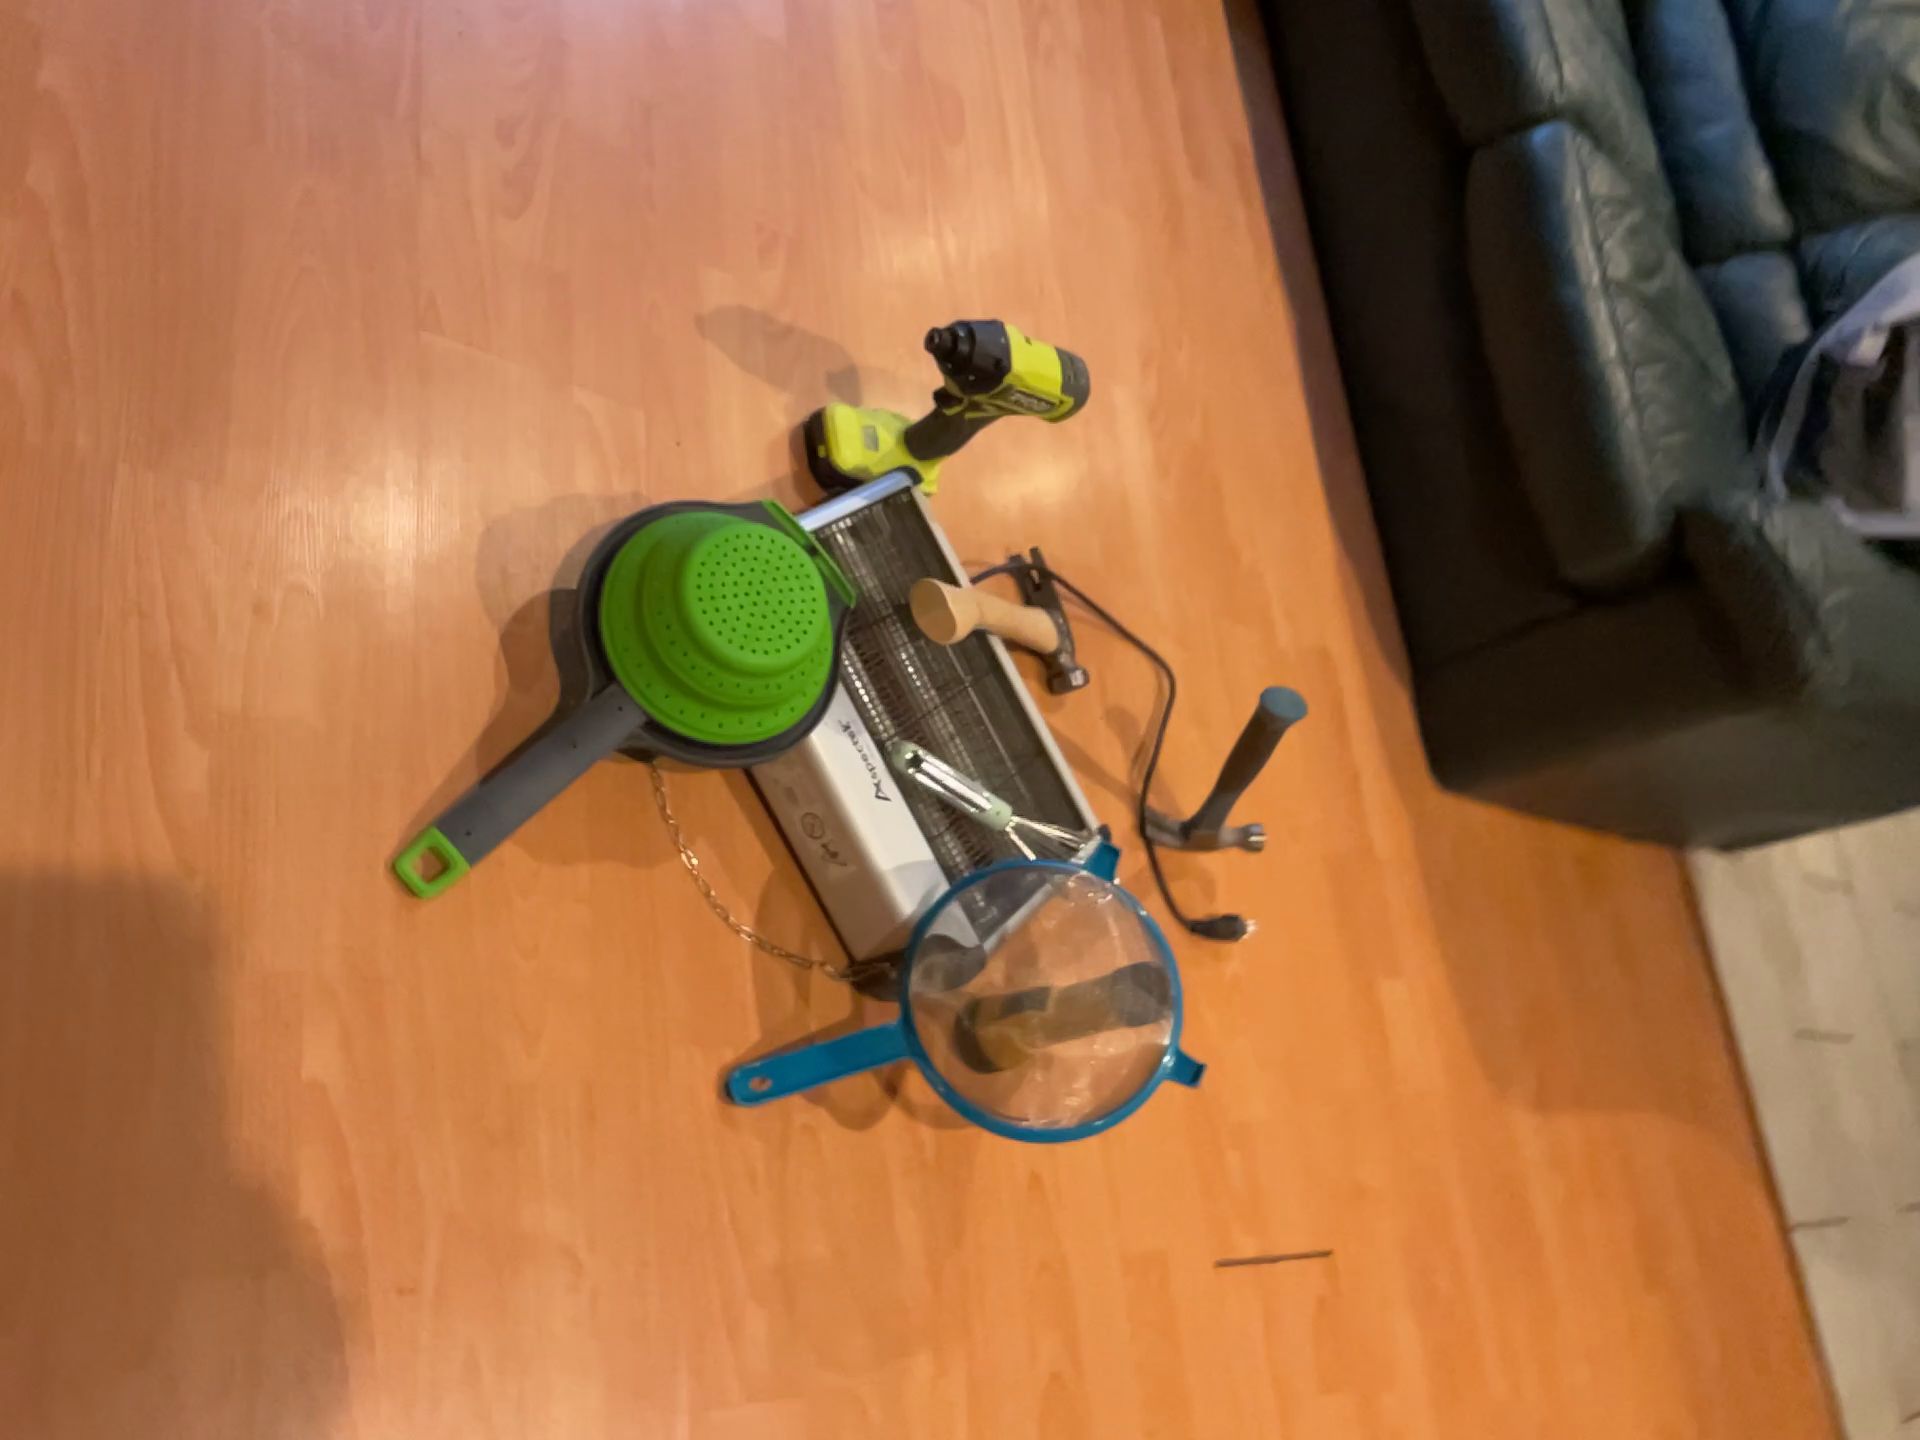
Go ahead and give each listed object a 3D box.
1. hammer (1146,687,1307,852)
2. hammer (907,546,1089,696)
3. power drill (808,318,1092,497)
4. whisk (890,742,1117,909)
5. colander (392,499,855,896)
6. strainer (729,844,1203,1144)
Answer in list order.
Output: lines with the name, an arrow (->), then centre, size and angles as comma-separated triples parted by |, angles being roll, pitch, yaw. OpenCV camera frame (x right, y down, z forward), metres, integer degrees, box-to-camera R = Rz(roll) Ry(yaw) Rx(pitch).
hammer -> 0.256, 0.054, 1.483 | 0.128, 0.330, 0.033 | 1, 65, -5
hammer -> 0.031, -0.097, 1.379 | 0.411, 0.038, 0.146 | 0, 71, -73
power drill -> -0.022, -0.267, 1.380 | 0.171, 0.223, 0.080 | 8, 65, -45
whisk -> 0.039, 0.084, 1.285 | 0.246, 0.059, 0.058 | 34, 78, -28
colander -> -0.210, -0.025, 1.081 | 0.204, 0.094, 0.397 | 51, 58, -7
strainer -> 0.003, 0.205, 1.133 | 0.340, 0.095, 0.211 | -15, 68, -15
